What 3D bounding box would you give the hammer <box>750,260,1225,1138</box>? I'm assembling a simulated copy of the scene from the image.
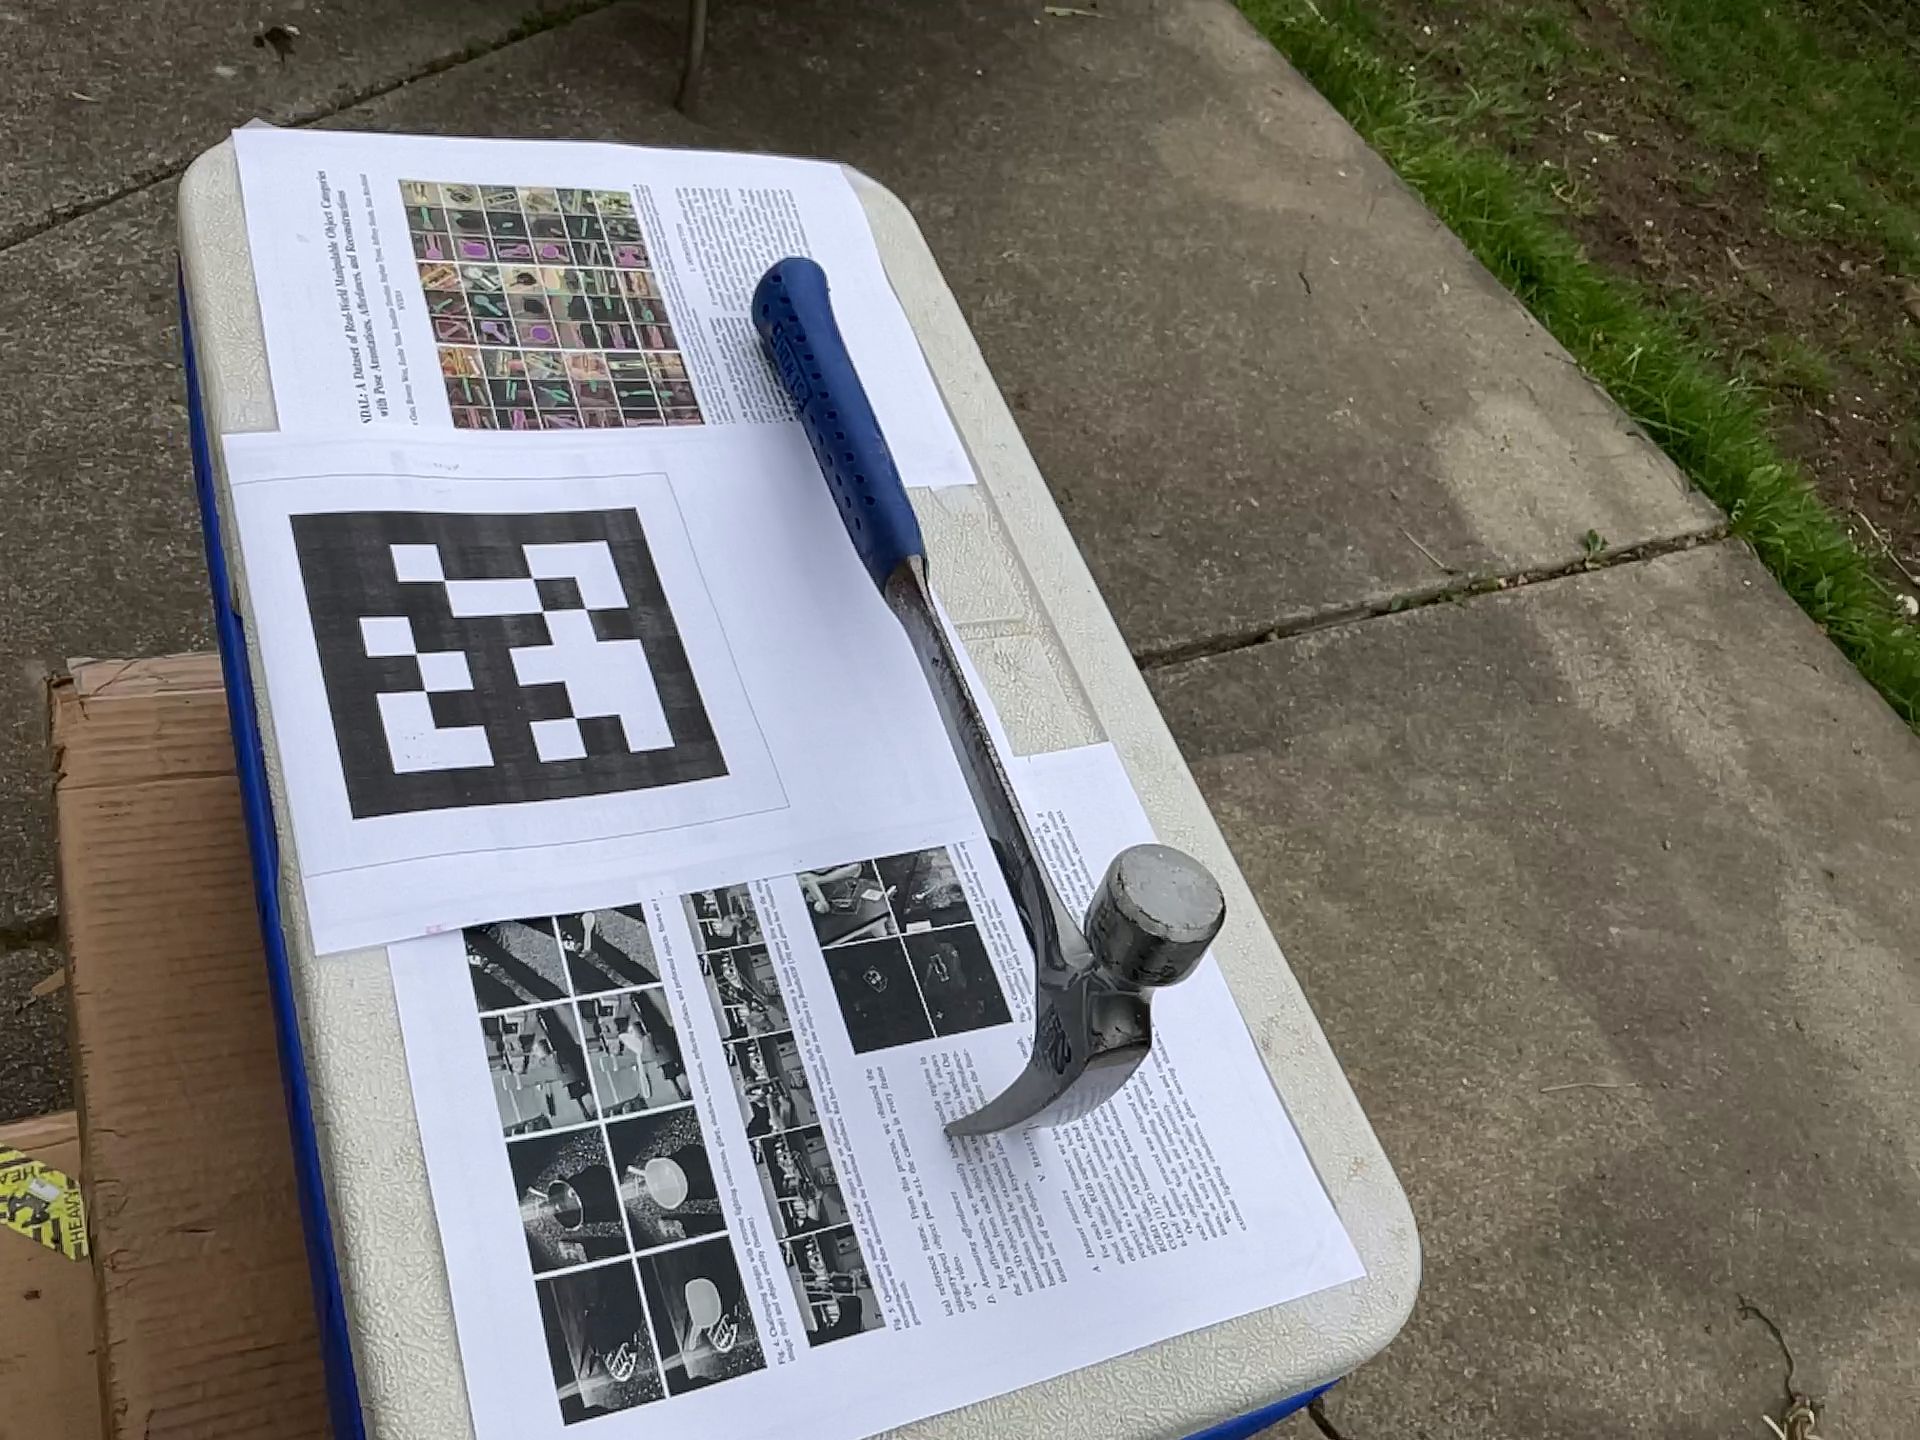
[{"bbox_3d":[-0.020,-0.038,0.587,0.035,0.144,0.406,0,45,-24],"label":"hammer"}]
